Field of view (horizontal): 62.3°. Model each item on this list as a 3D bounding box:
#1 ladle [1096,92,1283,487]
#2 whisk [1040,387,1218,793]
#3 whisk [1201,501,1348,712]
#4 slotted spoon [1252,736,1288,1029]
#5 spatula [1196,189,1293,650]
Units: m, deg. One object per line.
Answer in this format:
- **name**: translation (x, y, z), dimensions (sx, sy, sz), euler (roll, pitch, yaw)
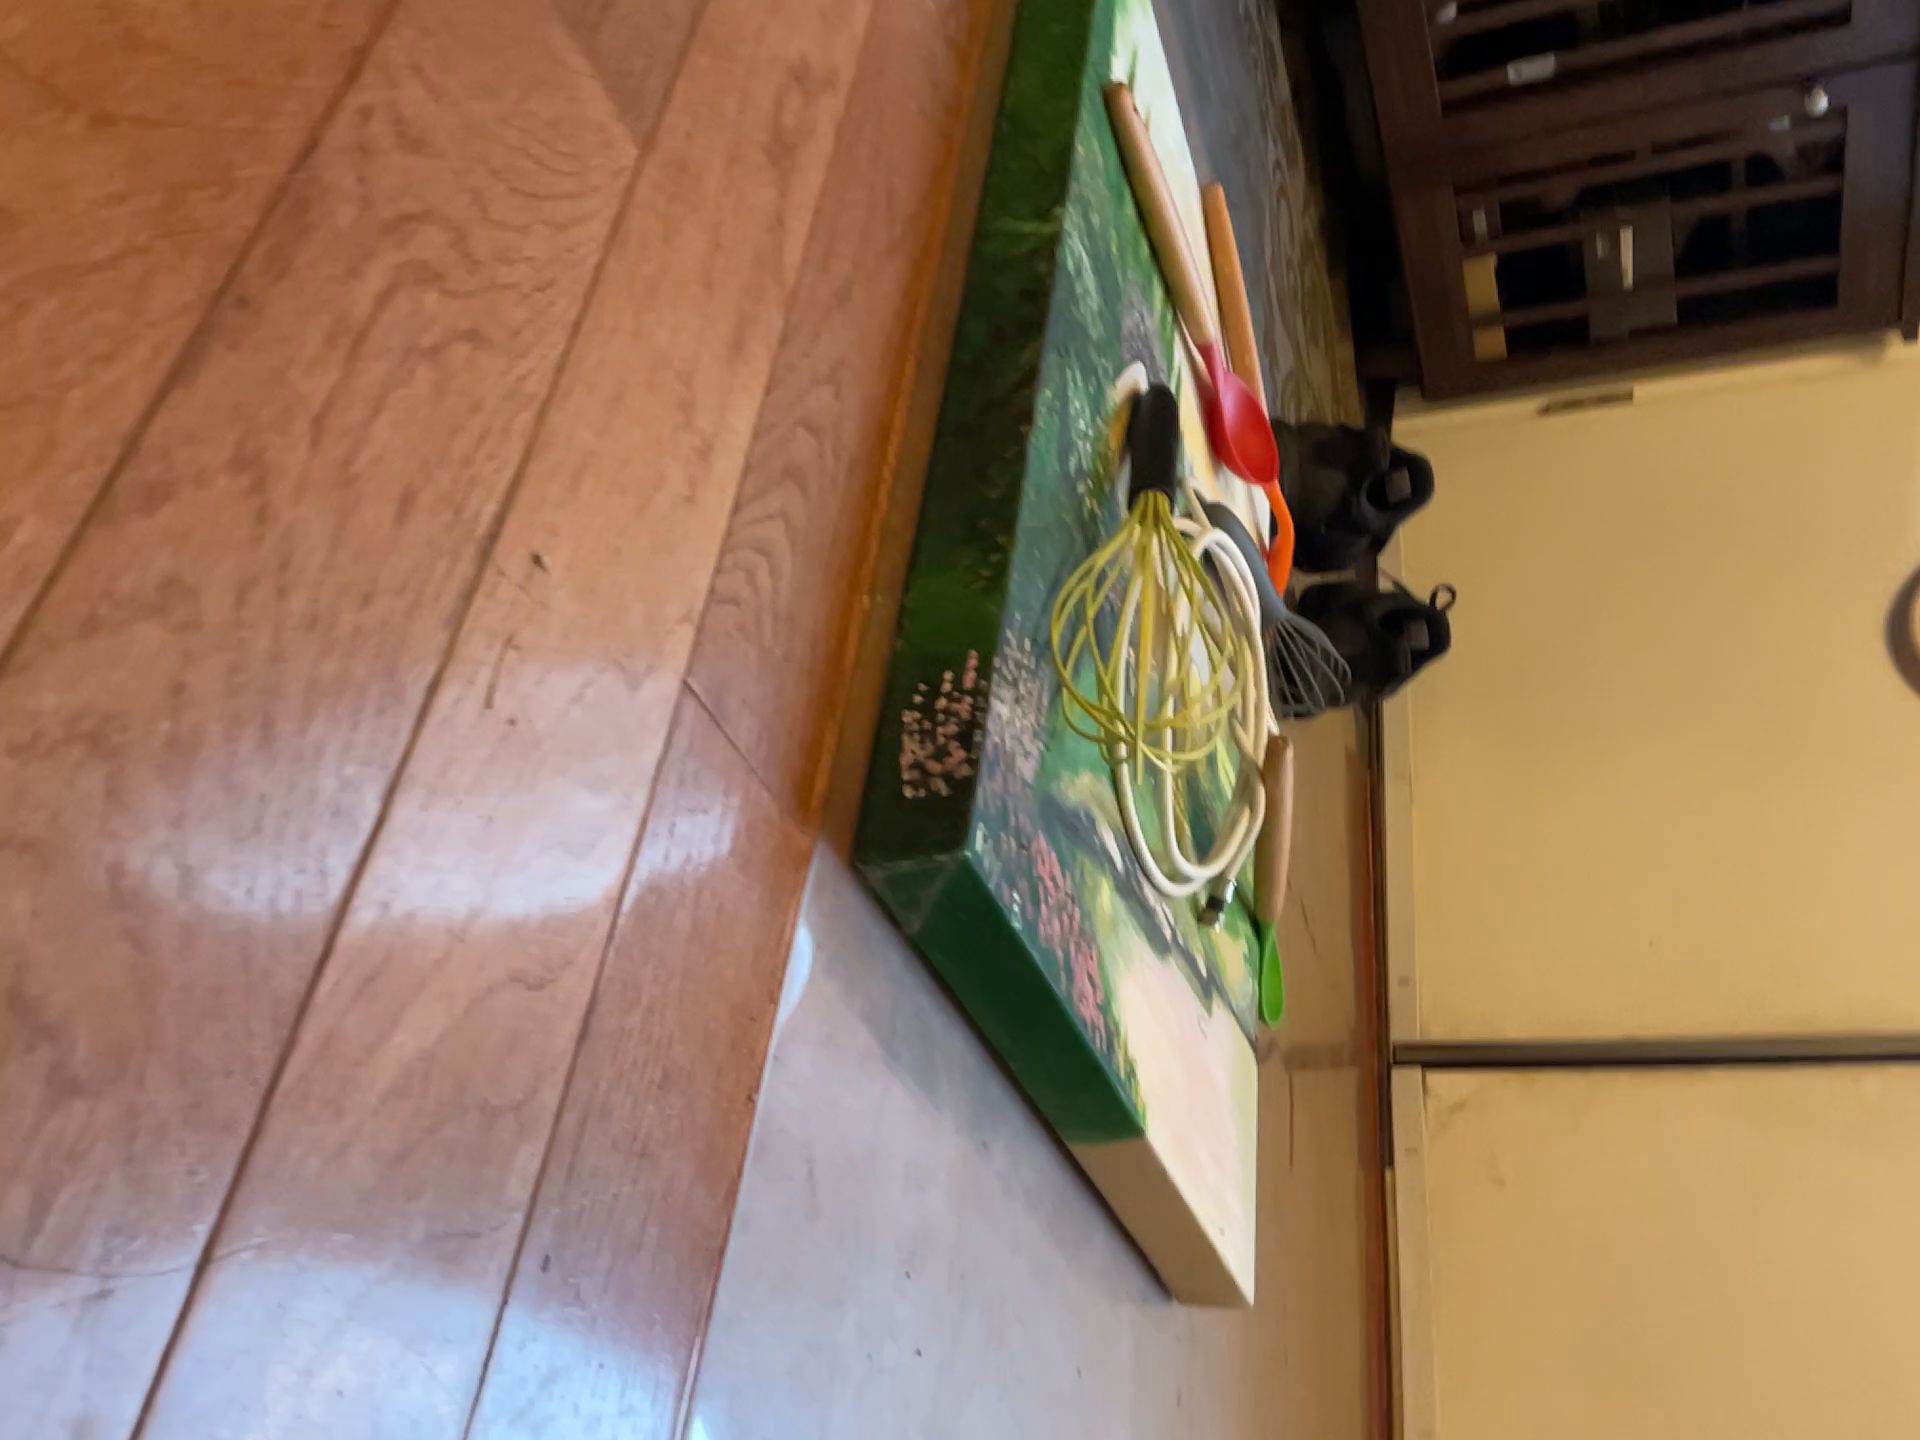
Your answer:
- **ladle**: translation (0.133, -0.235, 0.908), dimensions (0.315, 0.031, 0.069), euler (49, 39, -53)
- **whisk**: translation (0.080, -0.076, 0.693), dimensions (0.312, 0.067, 0.079), euler (-77, 159, -53)
- **whisk**: translation (0.195, -0.068, 1.002), dimensions (0.238, 0.055, 0.055), euler (45, 33, -51)
- **slotted spoon**: translation (0.178, 0.097, 0.922), dimensions (0.313, 0.031, 0.070), euler (75, 20, -56)
- **spatula**: translation (0.191, -0.194, 1.078), dimensions (0.081, 0.041, 0.322), euler (-80, 155, -63)
